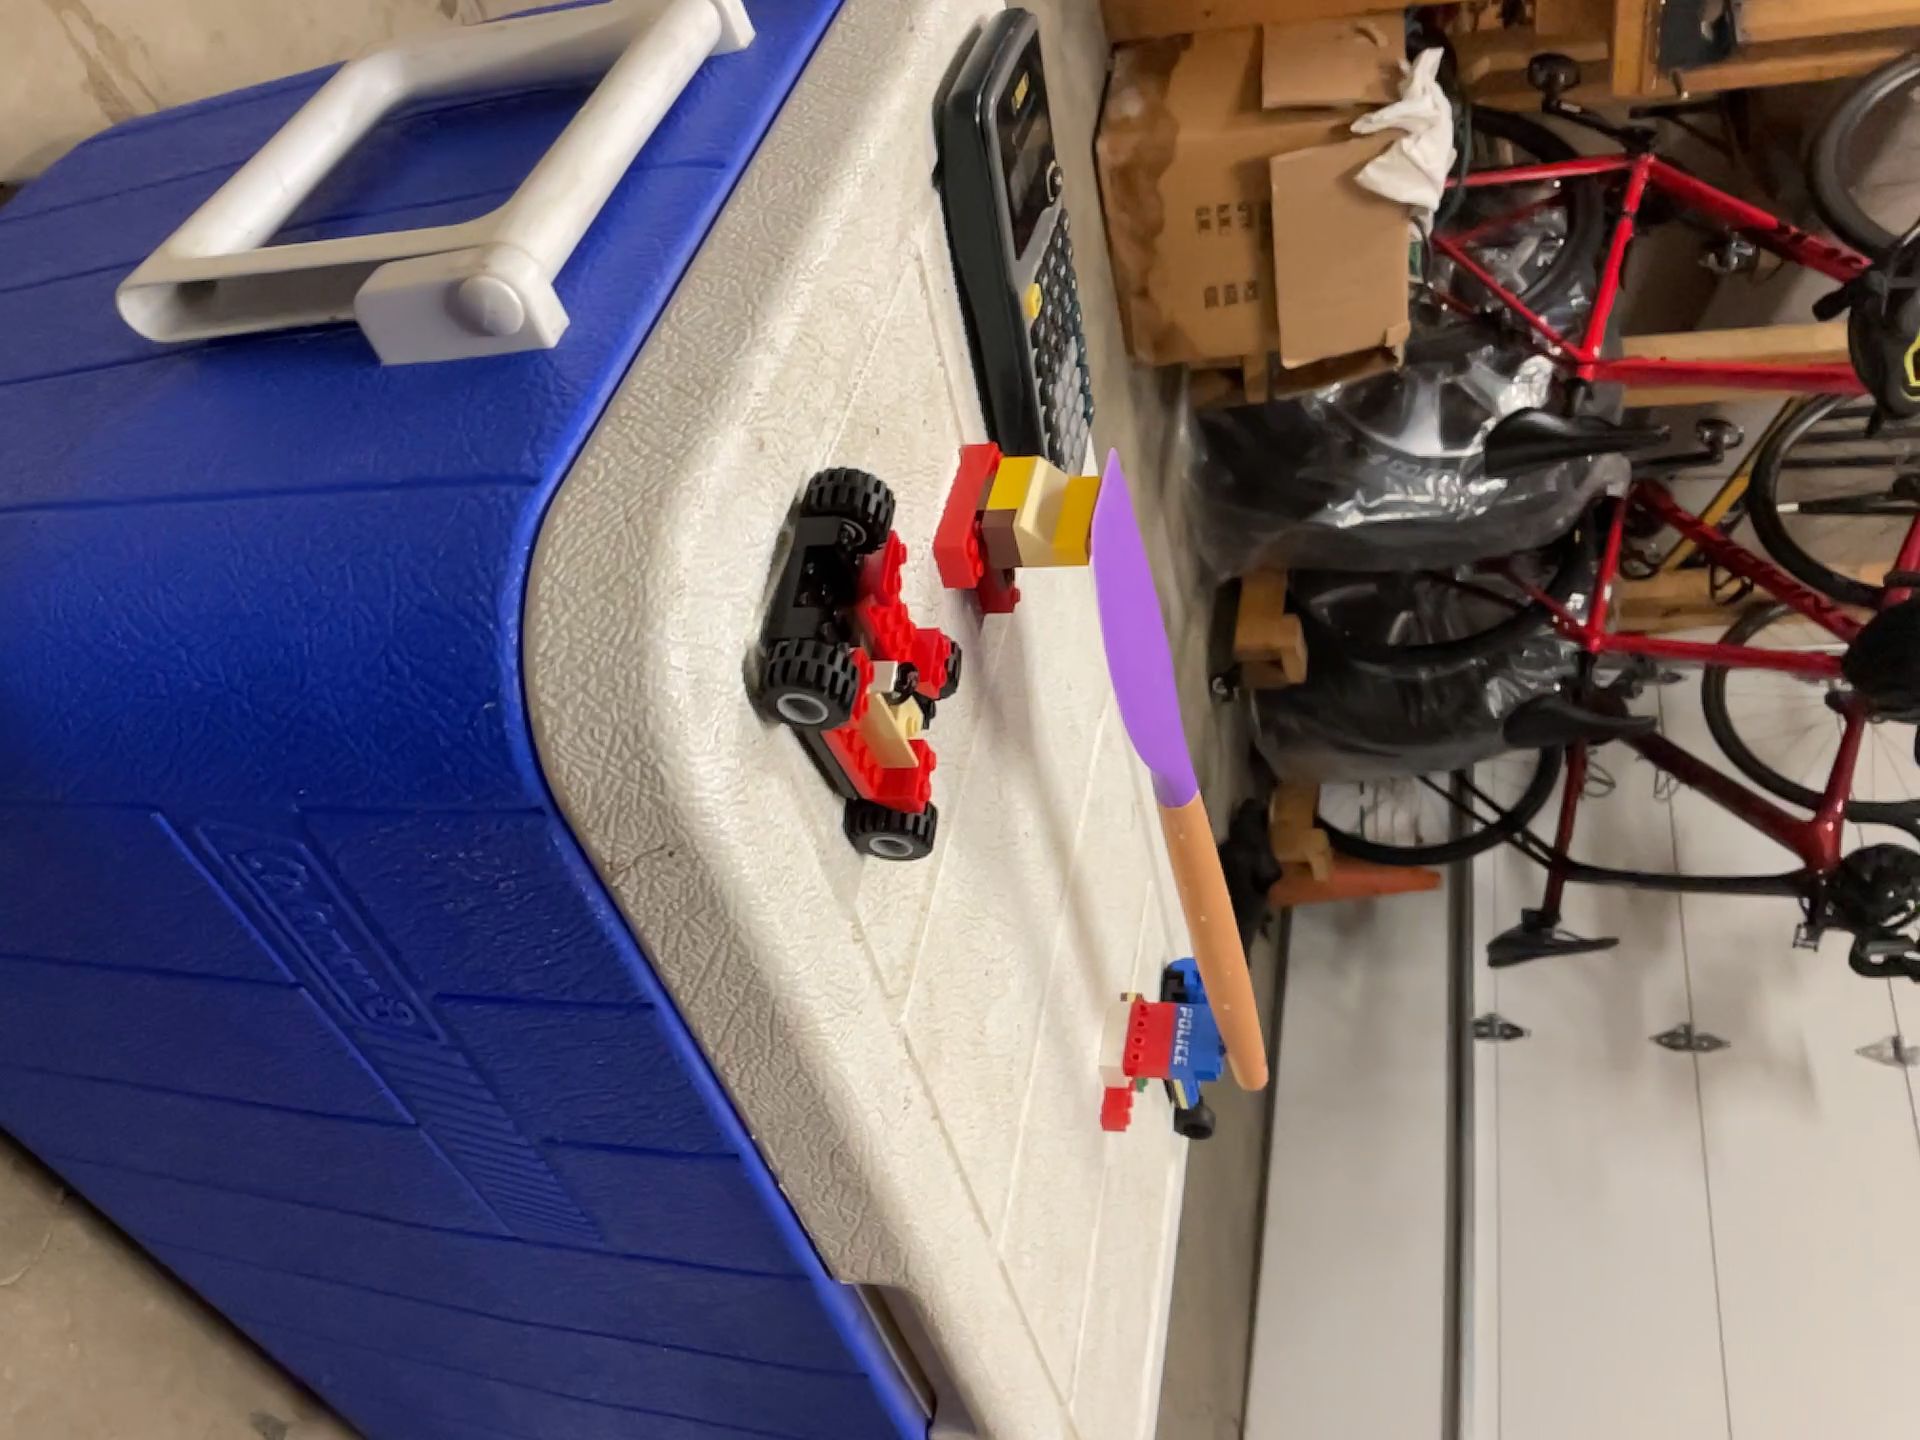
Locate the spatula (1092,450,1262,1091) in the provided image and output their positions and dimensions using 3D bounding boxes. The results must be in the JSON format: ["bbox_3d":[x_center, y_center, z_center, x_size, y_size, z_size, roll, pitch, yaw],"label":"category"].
[{"bbox_3d":[0.079,0.044,0.556,0.315,0.018,0.060,69,26,-44],"label":"spatula"}]
